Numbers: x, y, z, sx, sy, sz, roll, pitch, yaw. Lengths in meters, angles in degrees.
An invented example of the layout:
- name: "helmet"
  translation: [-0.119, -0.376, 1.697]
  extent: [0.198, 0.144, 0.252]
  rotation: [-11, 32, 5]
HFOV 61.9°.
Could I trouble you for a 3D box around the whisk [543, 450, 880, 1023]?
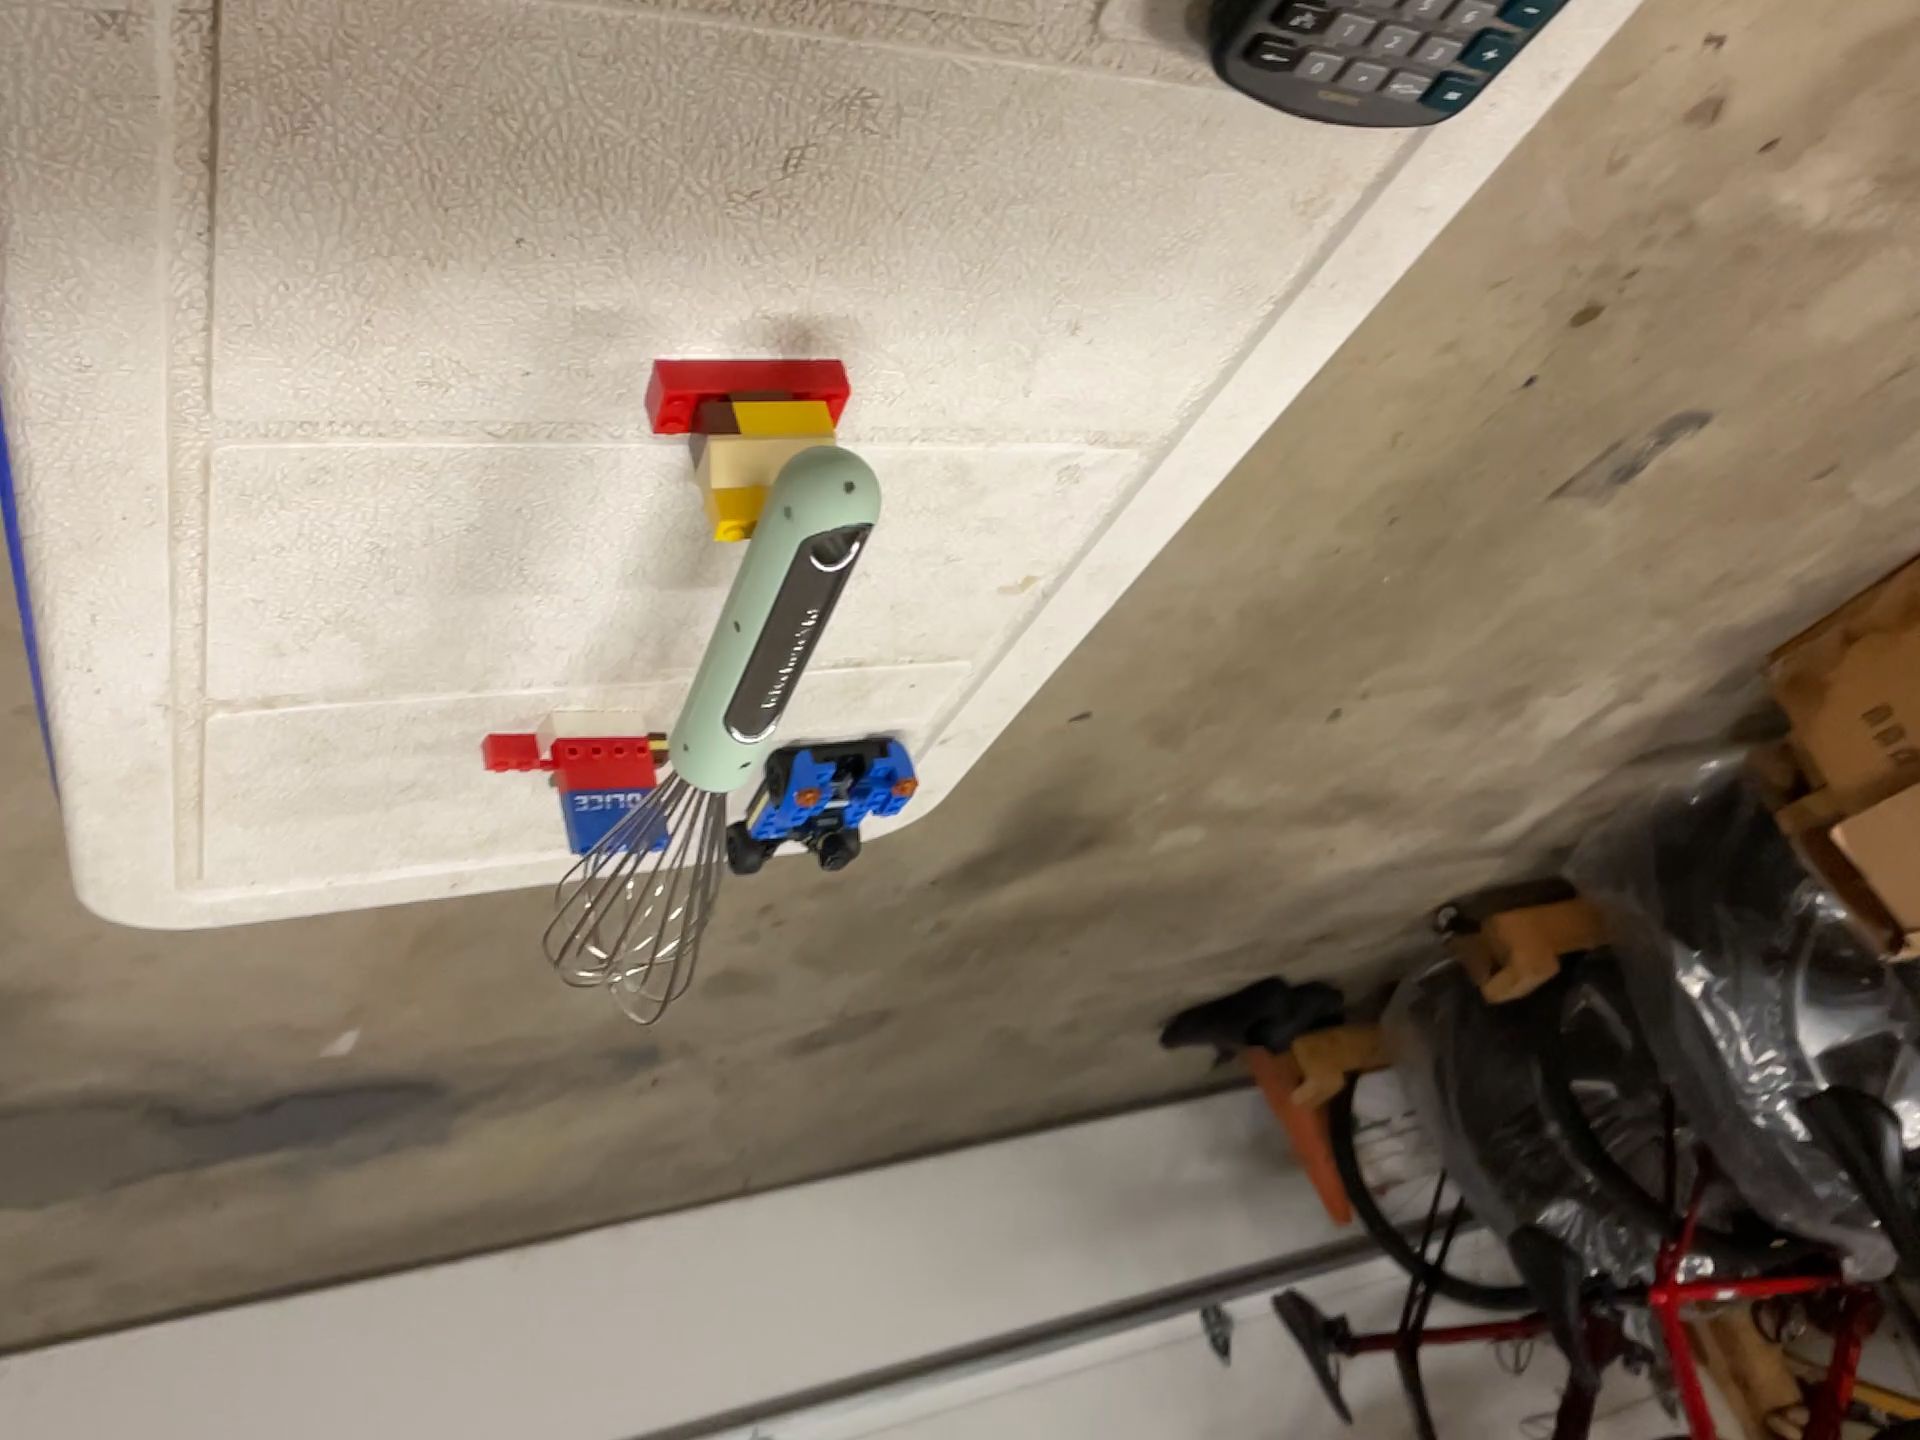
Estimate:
- name: "whisk"
  translation: [-0.071, 0.015, 0.447]
  extent: [0.058, 0.059, 0.246]
  rotation: [-11, 151, -33]
